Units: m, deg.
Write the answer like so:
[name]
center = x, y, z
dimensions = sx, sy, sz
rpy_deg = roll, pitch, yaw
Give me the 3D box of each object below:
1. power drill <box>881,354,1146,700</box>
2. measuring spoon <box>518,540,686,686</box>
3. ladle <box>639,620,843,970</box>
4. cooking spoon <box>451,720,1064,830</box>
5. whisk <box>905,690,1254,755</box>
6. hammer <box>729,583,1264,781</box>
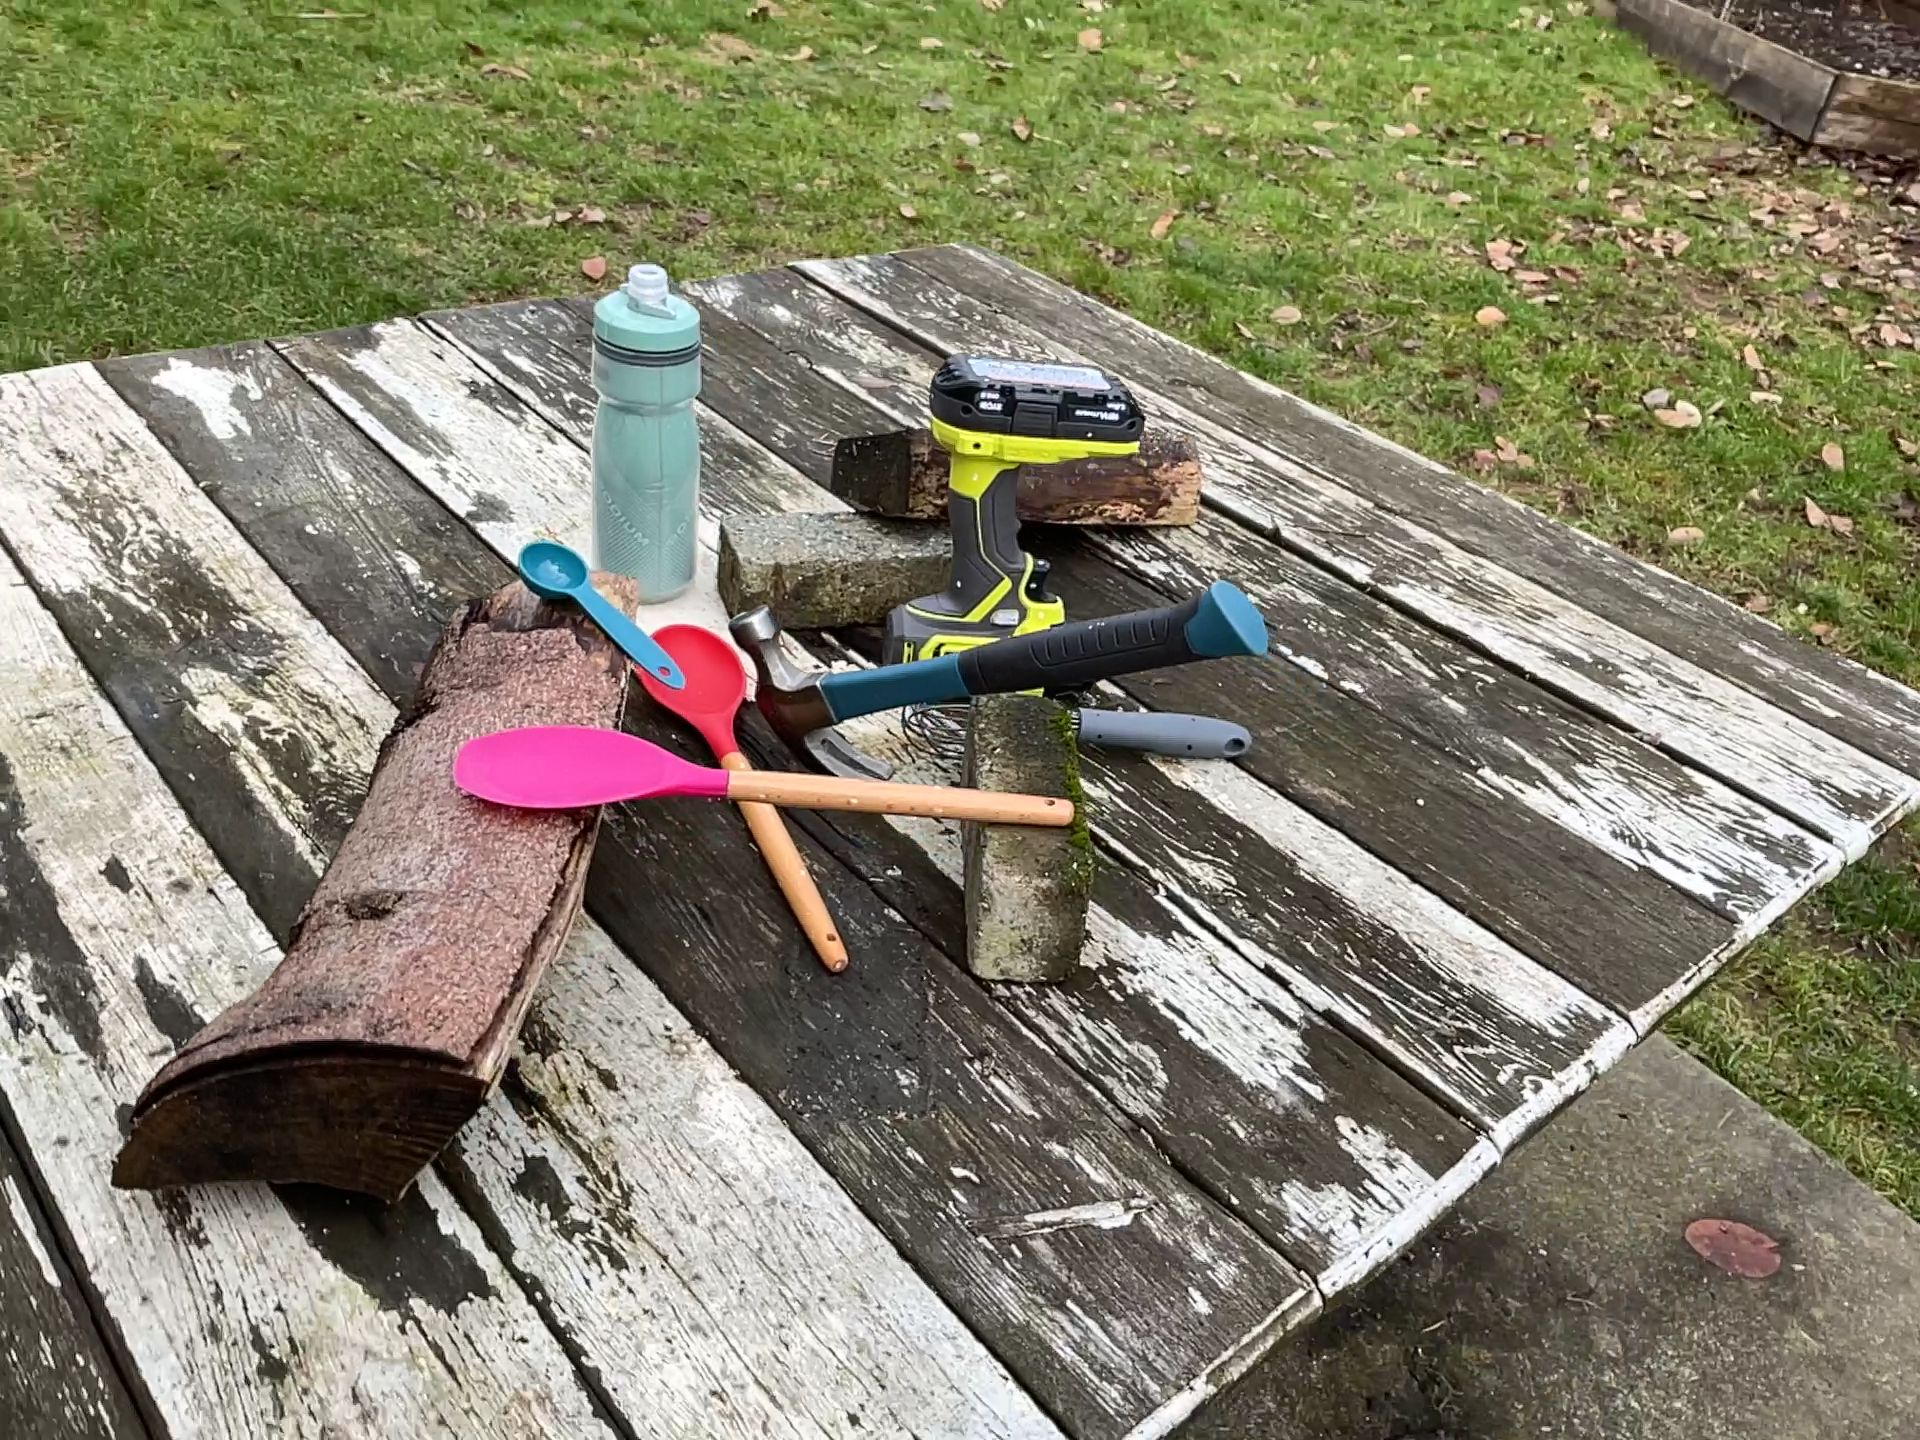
[power drill]
center = 0.045, -0.121, 1.065
dimensions = 0.171, 0.223, 0.080
rpy_deg = 3, 27, -11
[measuring spoon]
center = -0.214, -0.058, 0.951
dimensions = 0.129, 0.021, 0.042
rpy_deg = 41, 41, 8
[ladle]
center = -0.130, 0.038, 0.967
dimensions = 0.069, 0.031, 0.316
rpy_deg = -6, 39, -25
[cooking spoon]
center = -0.100, 0.035, 0.832
dimensions = 0.318, 0.017, 0.069
rpy_deg = 6, 33, -11
[whisk]
center = 0.081, 0.000, 1.041
dimensions = 0.238, 0.055, 0.055
rpy_deg = 4, 42, -13
[hammer]
center = 0.016, -0.030, 0.922
dimensions = 0.331, 0.128, 0.033
rpy_deg = -9, 24, 34
